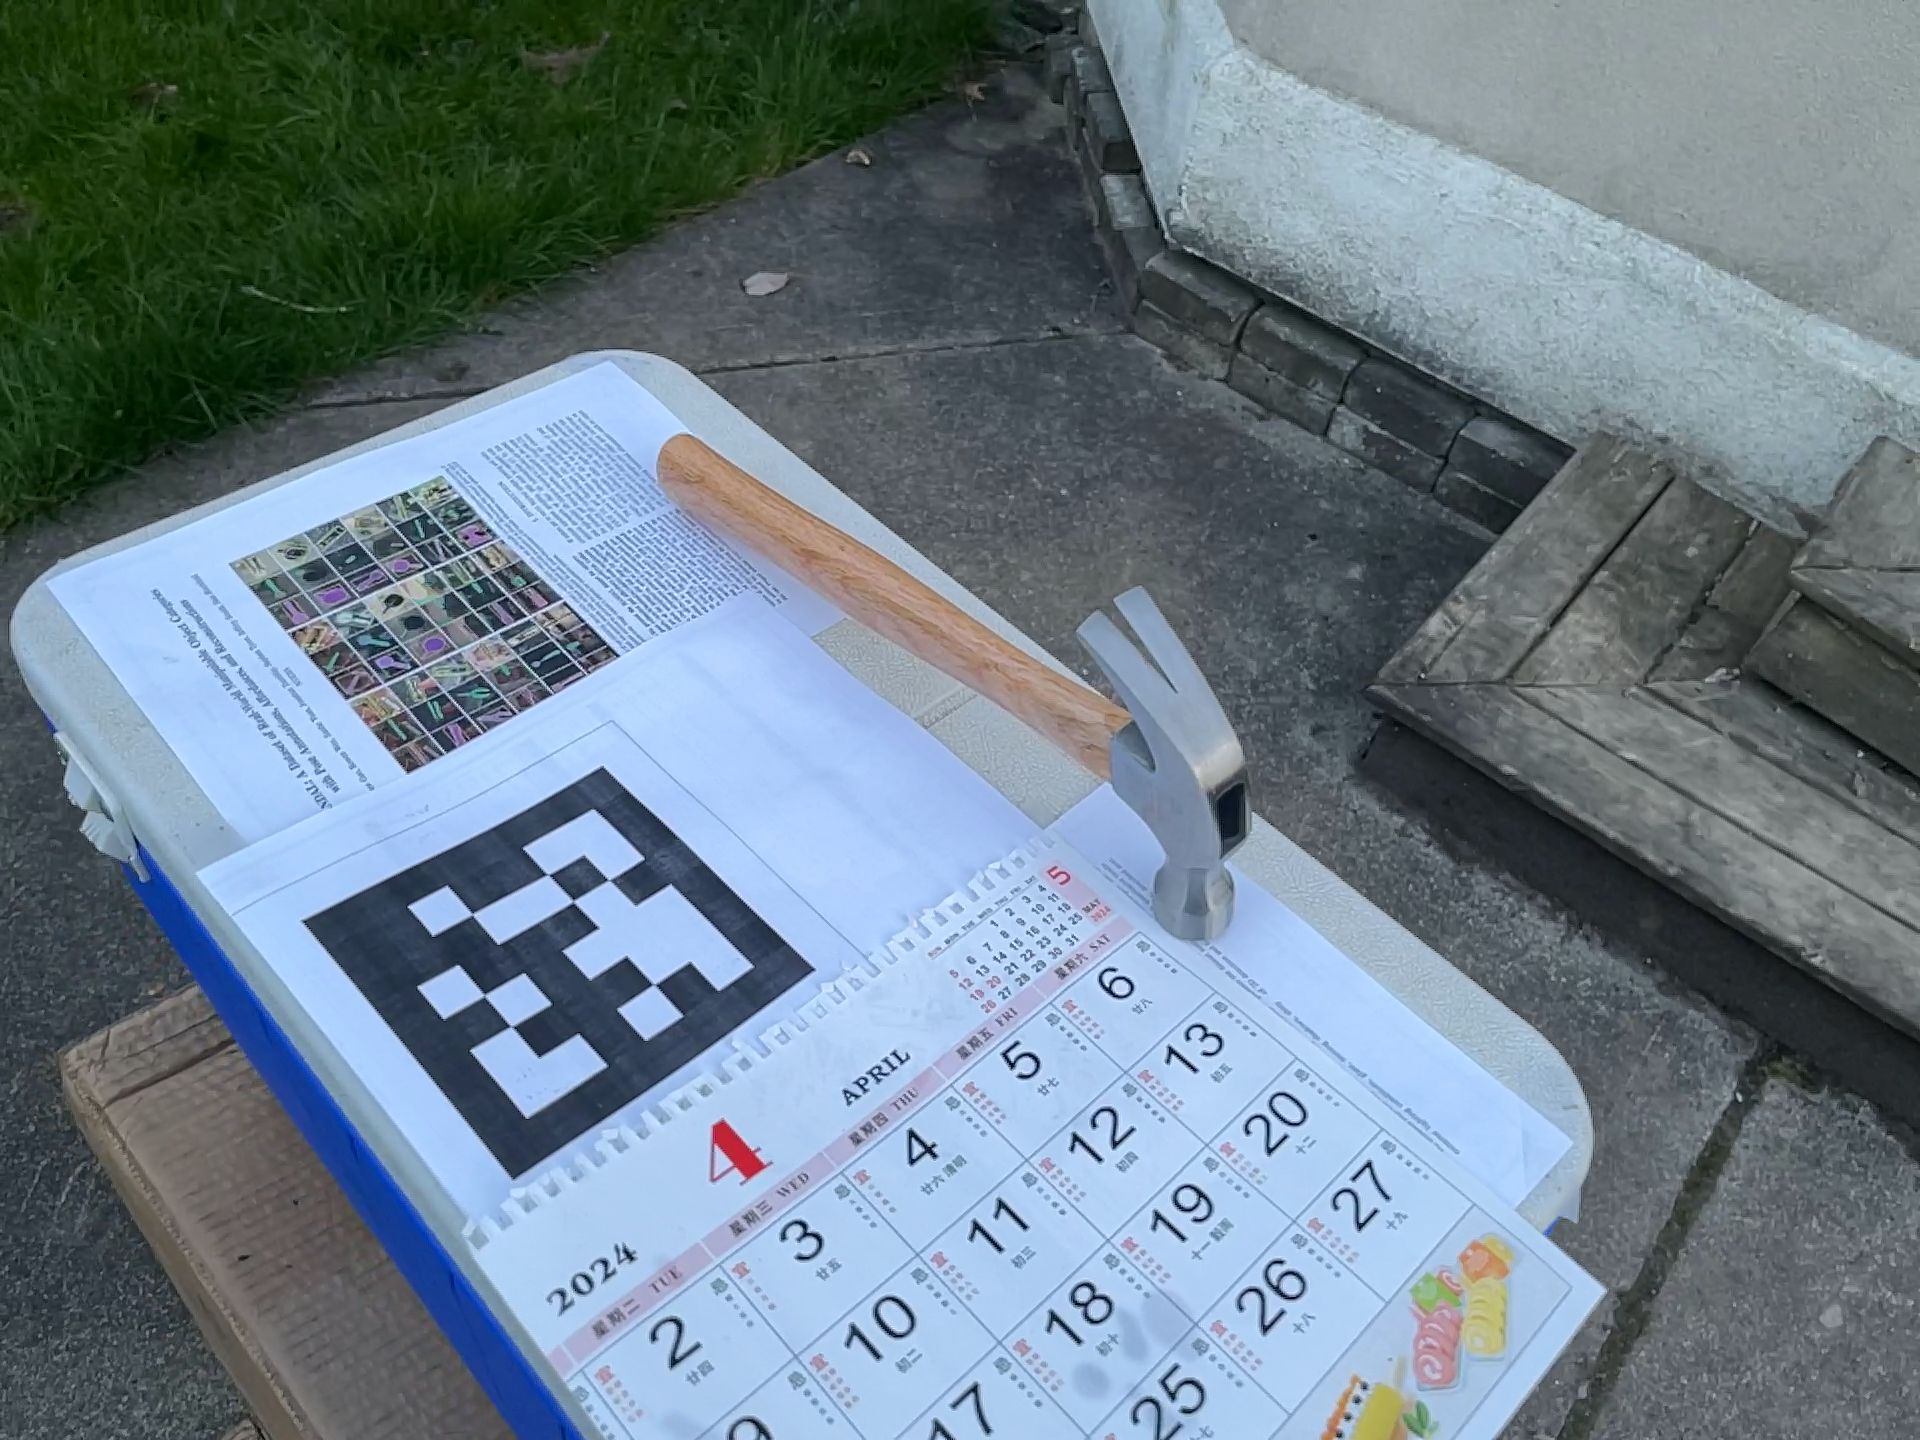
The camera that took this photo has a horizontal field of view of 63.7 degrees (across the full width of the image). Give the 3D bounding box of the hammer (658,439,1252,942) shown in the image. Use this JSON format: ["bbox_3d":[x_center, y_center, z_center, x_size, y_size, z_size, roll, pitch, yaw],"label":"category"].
[{"bbox_3d":[-0.018,-0.042,0.632,0.031,0.130,0.331,-36,52,-27],"label":"hammer"}]
